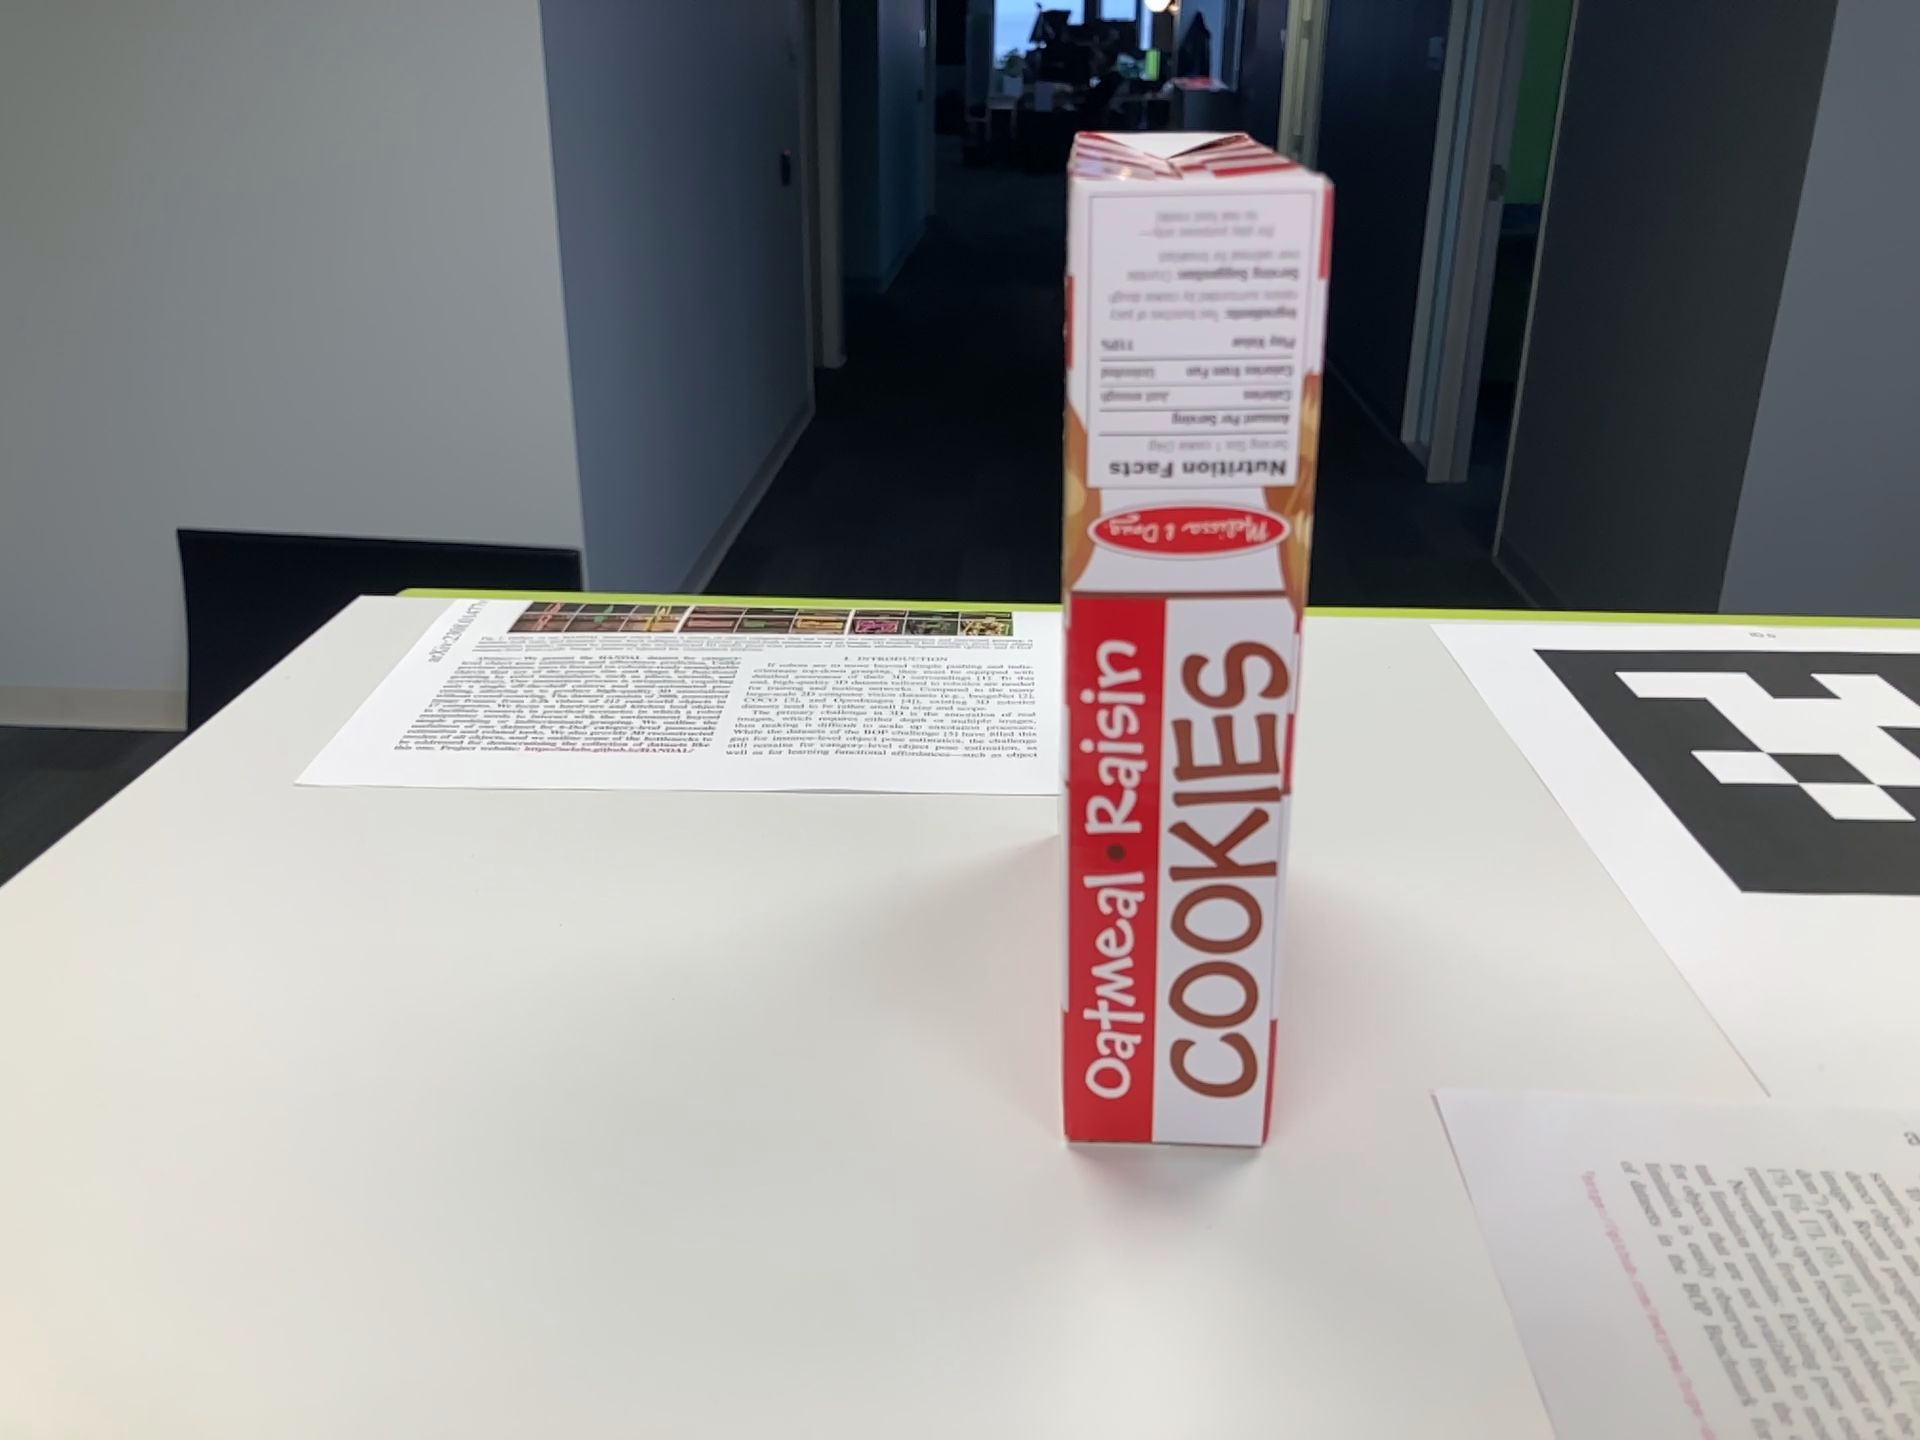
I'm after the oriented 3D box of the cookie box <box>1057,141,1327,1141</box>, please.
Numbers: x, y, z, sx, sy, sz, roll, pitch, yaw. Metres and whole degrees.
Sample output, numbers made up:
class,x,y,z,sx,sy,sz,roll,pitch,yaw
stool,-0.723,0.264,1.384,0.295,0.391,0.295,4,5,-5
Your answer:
class,x,y,z,sx,sy,sz,roll,pitch,yaw
cookie box,0.040,-0.023,0.311,0.040,0.167,0.123,1,22,4
